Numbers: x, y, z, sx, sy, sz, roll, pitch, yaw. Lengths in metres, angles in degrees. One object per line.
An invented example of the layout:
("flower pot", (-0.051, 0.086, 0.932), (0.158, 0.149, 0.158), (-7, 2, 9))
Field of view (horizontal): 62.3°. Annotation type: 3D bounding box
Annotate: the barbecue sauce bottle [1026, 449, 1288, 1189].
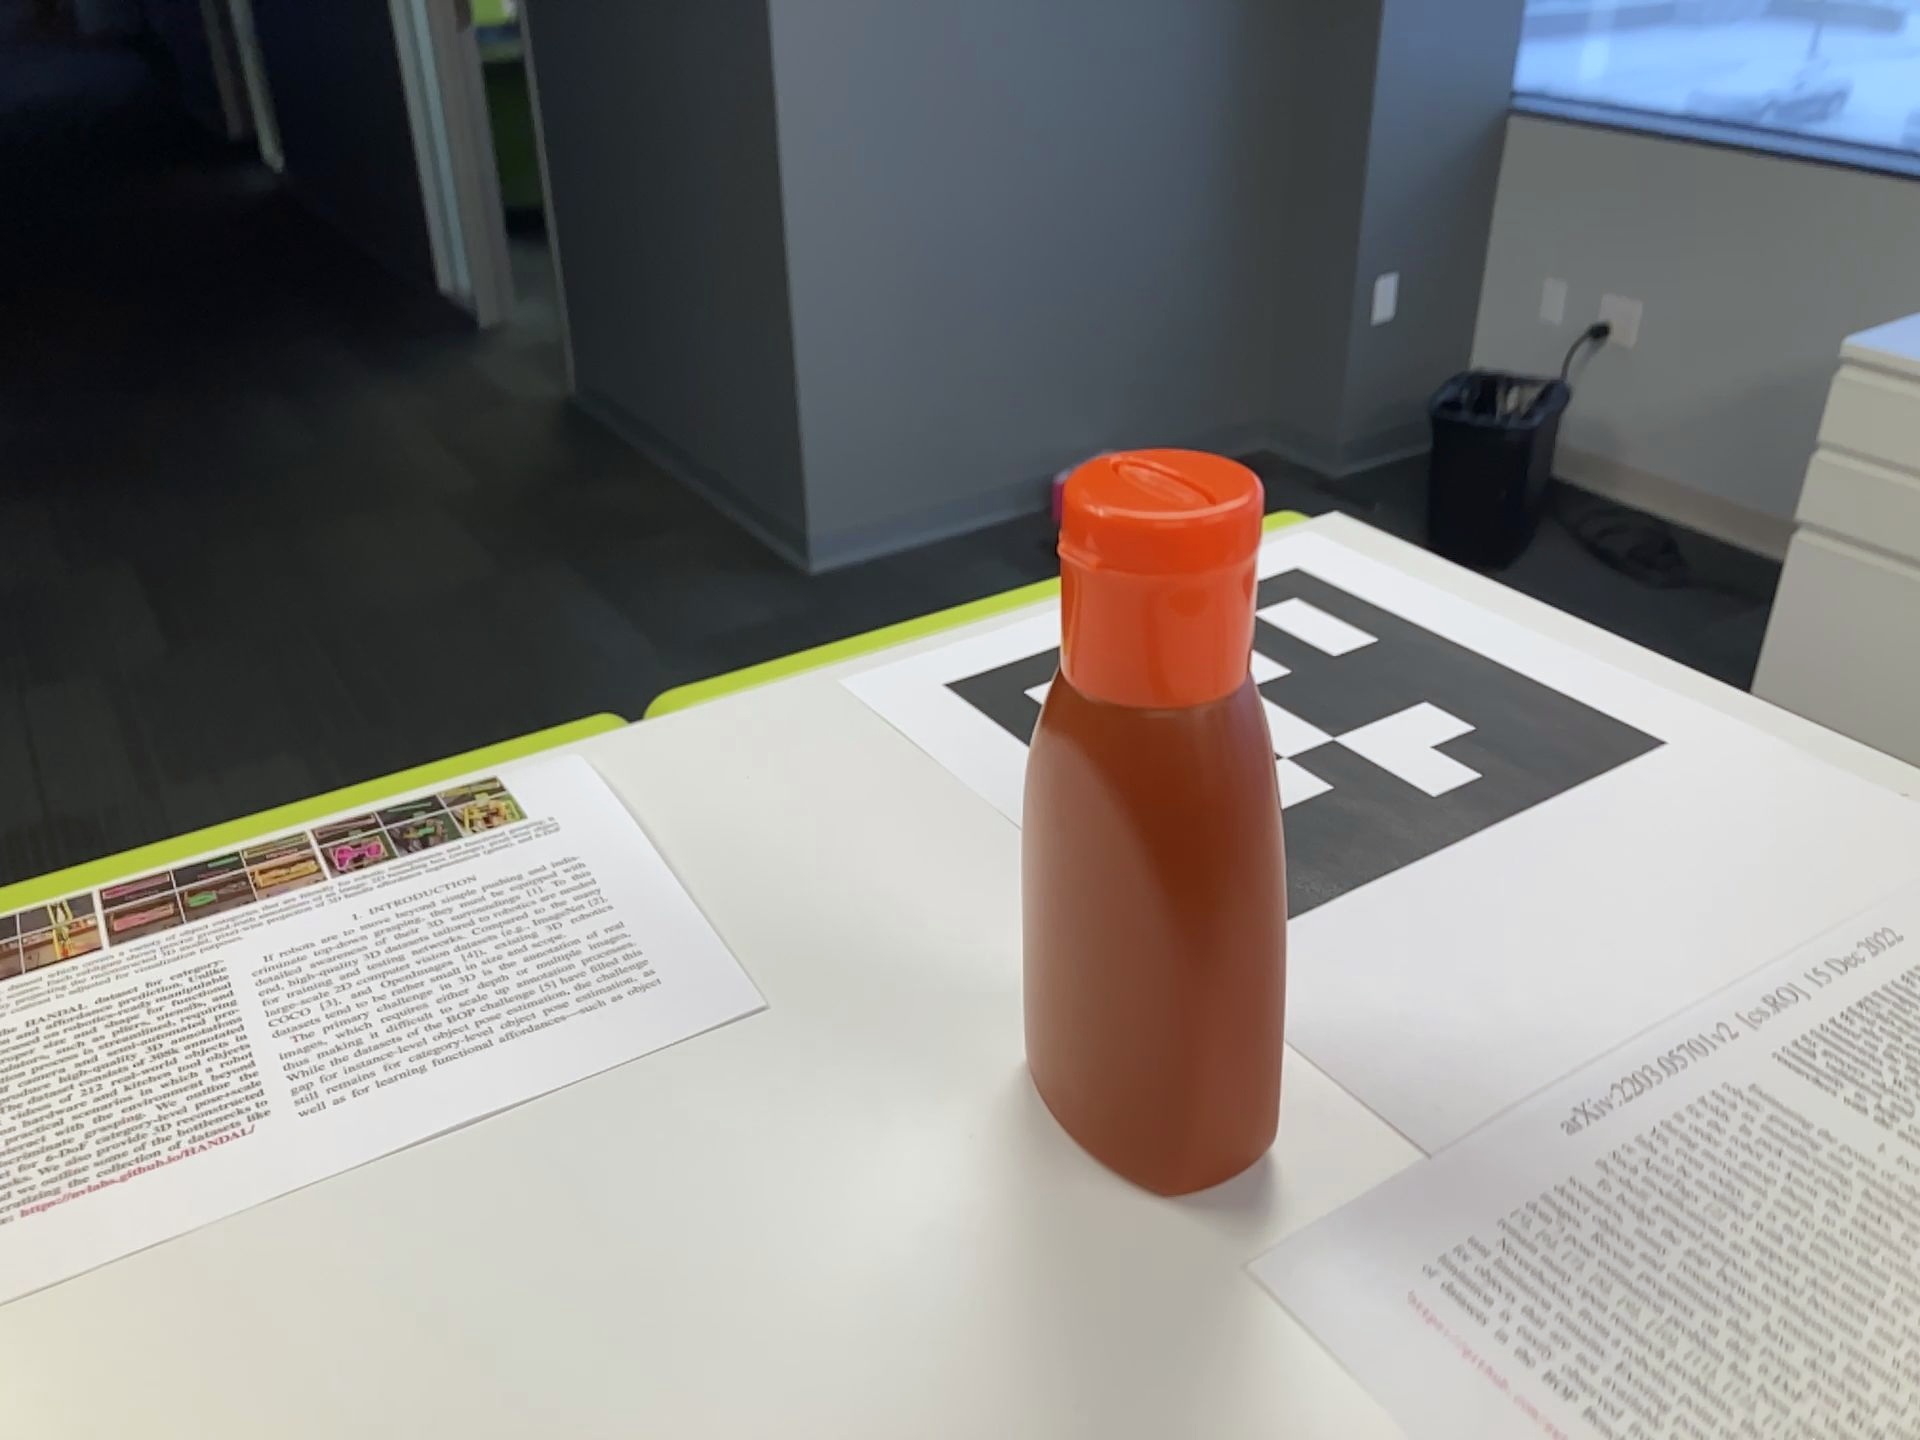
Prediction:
("barbecue sauce bottle", (0.039, 0.021, 0.324), (0.043, 0.148, 0.065), (-18, 32, -26))
